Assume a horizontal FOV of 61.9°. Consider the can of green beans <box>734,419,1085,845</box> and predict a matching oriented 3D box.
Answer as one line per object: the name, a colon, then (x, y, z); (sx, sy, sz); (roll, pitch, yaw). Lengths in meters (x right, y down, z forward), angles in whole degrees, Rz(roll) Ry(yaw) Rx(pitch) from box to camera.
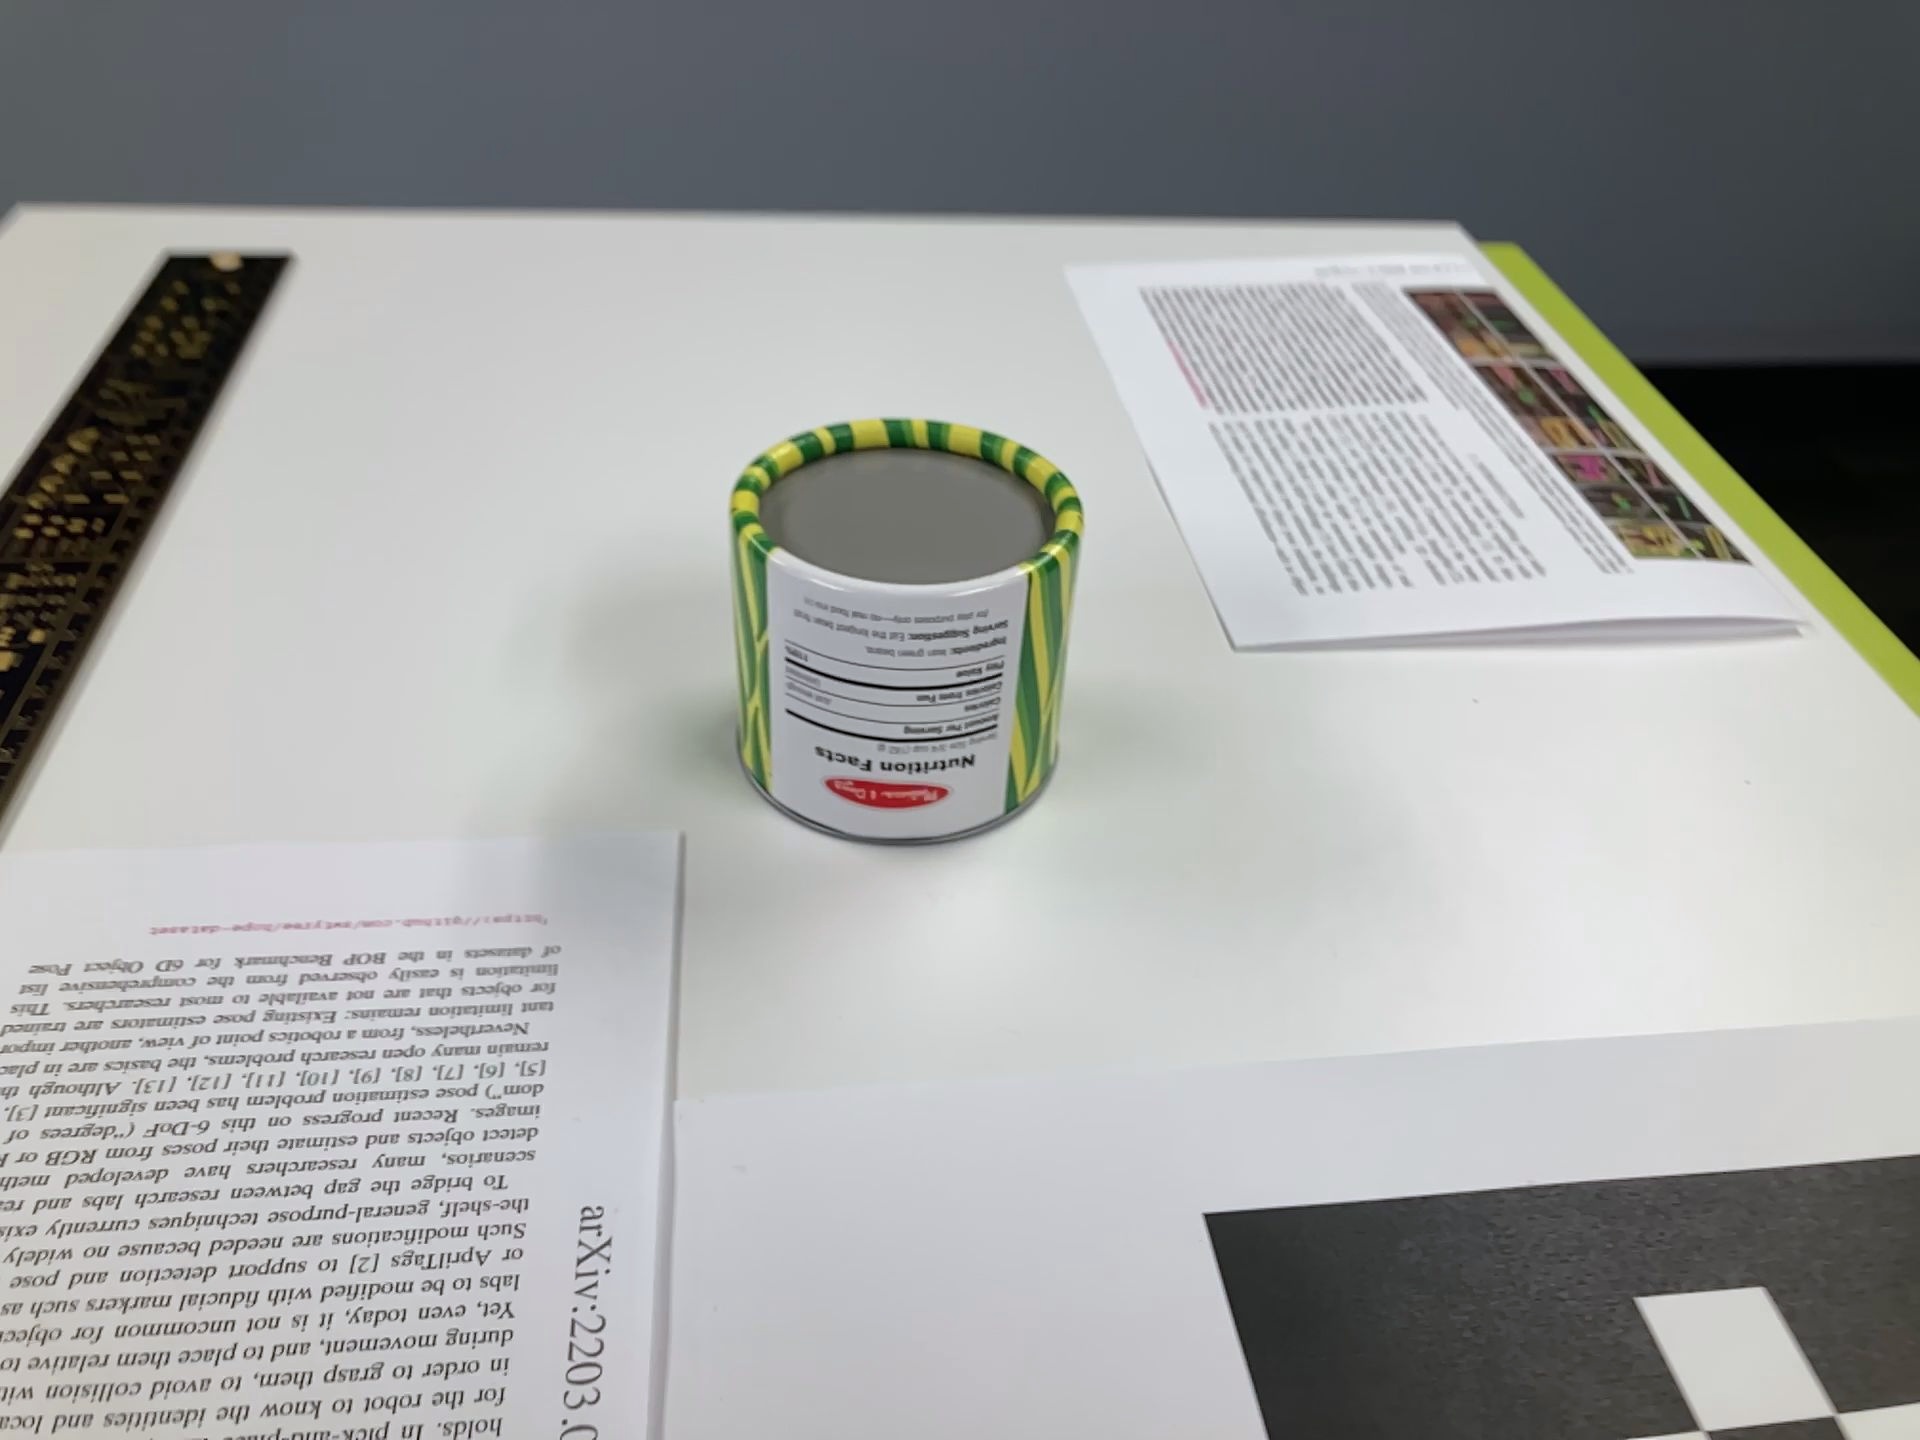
can of green beans: (-0.011, -0.019, 0.314); (0.071, 0.058, 0.071); (2, 38, -2)
